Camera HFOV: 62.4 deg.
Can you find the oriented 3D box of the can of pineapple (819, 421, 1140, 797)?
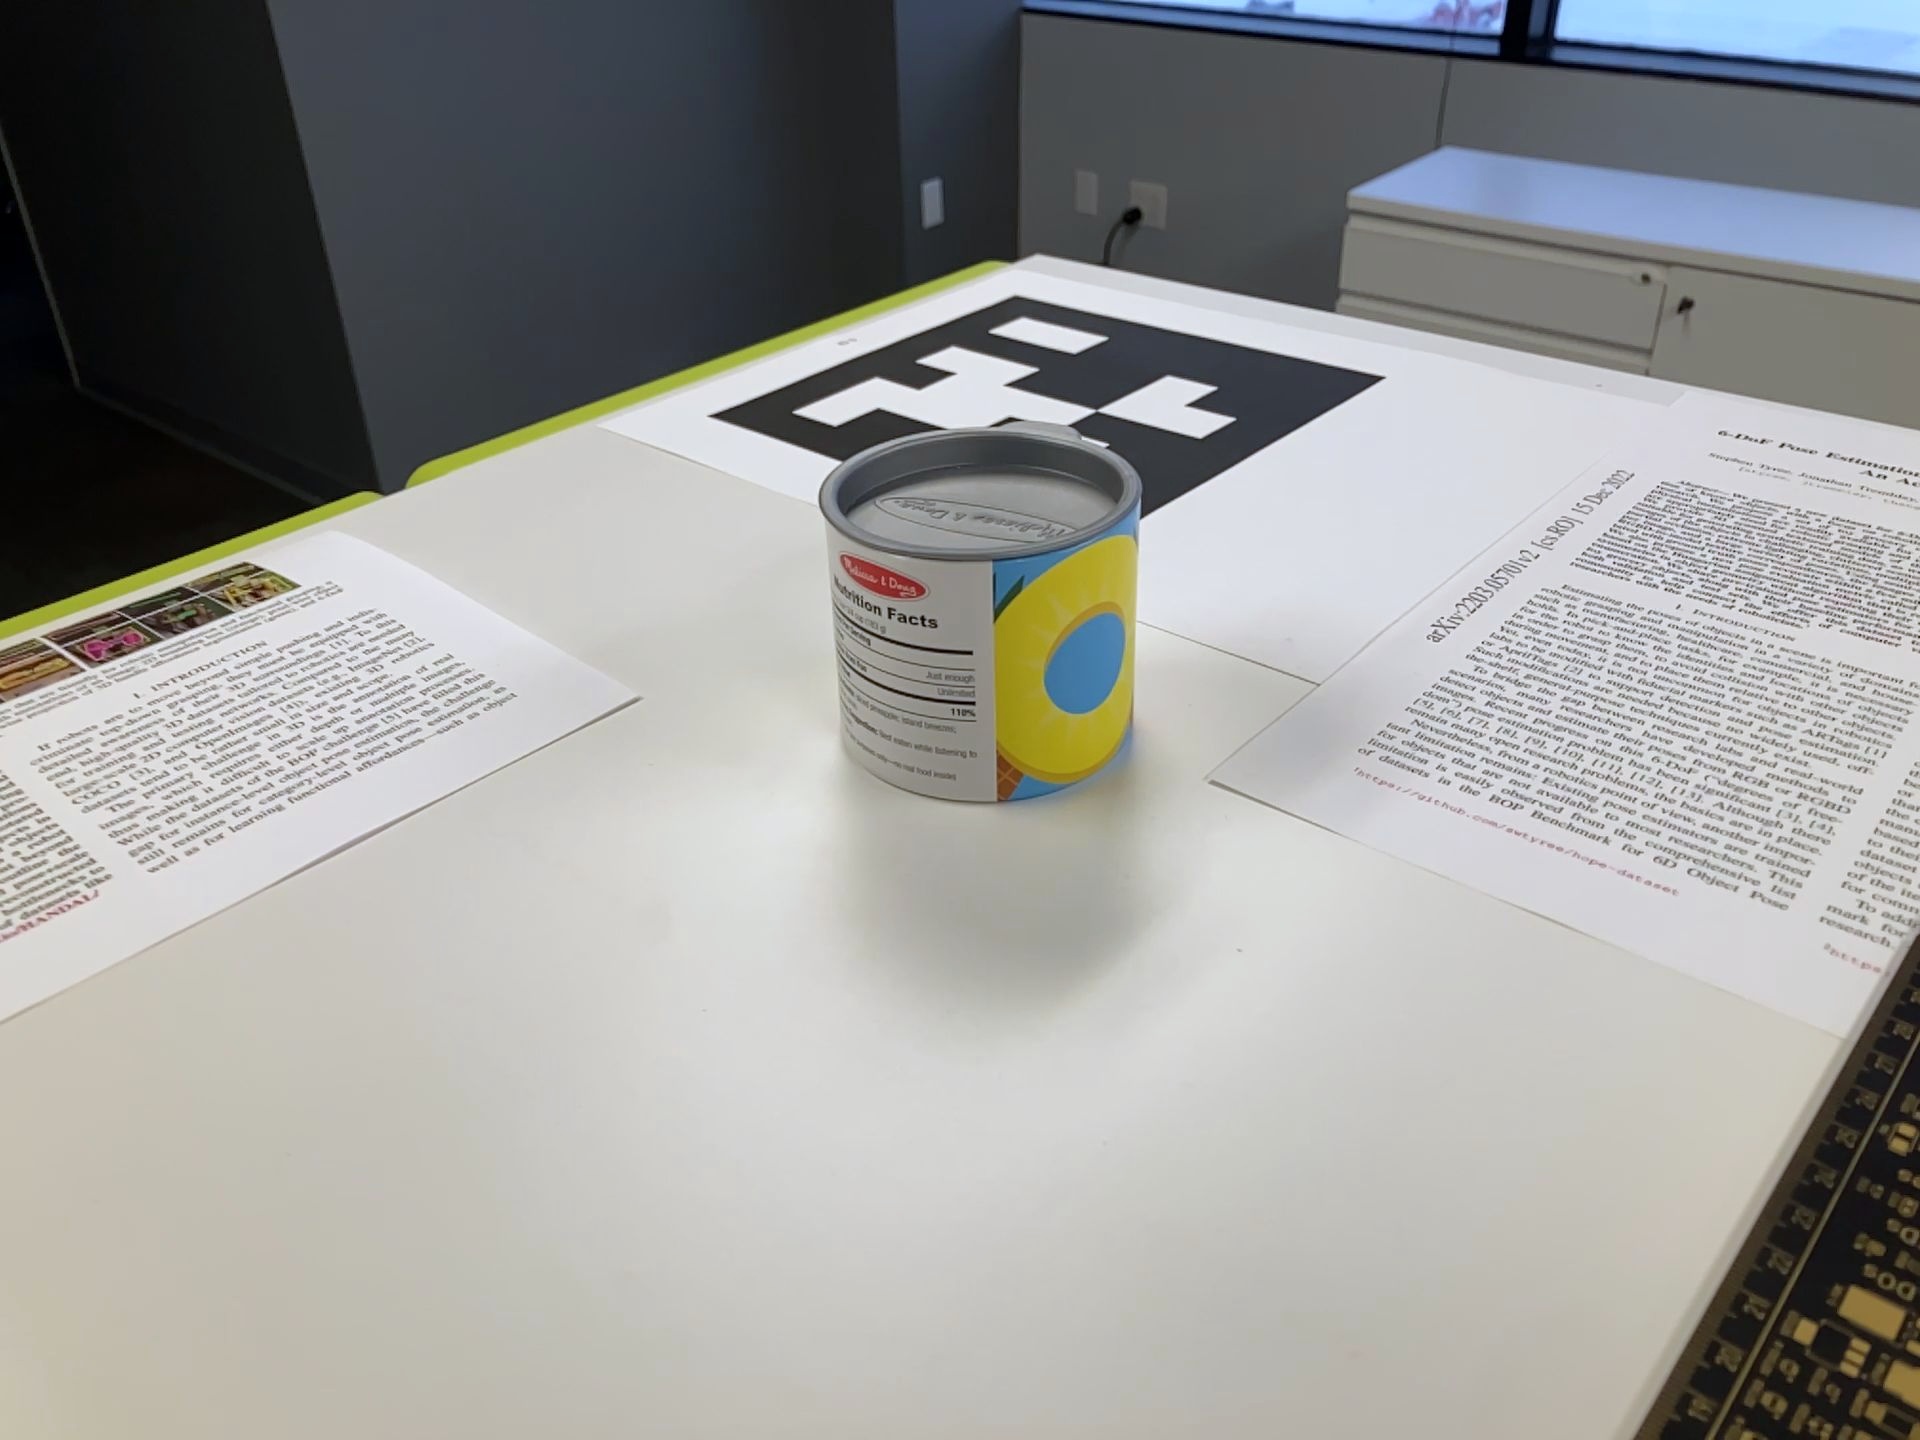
[{"bbox_3d":[0.006,-0.025,0.343,0.071,0.058,0.071,-1,32,1],"label":"can of pineapple"}]
